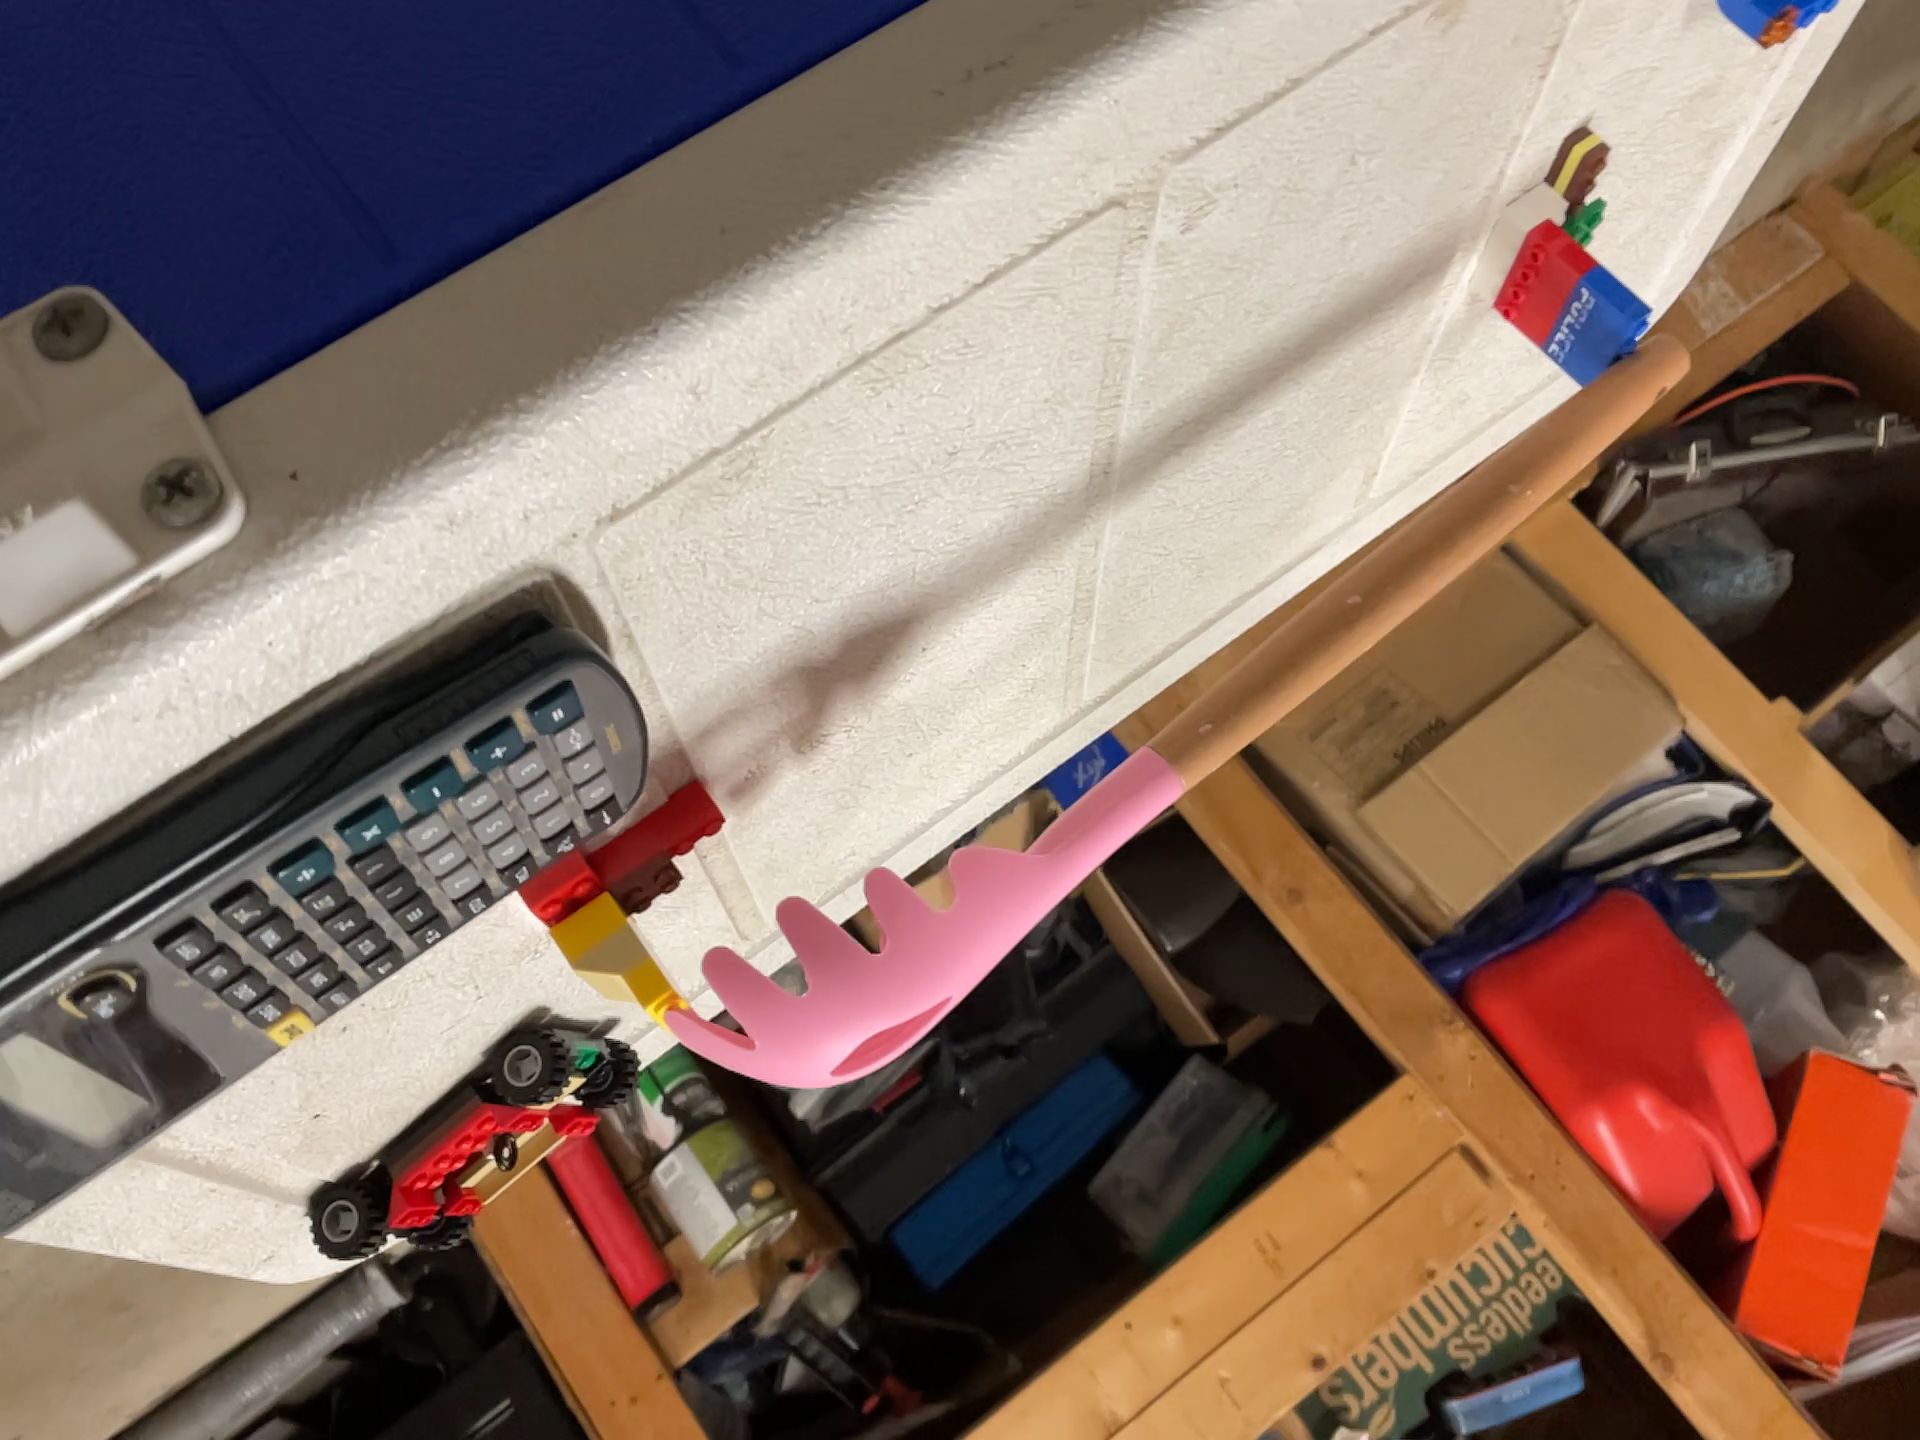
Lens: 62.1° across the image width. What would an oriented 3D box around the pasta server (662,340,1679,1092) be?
[{"bbox_3d":[0.066,-0.009,0.402,0.316,0.040,0.060,-38,160,-13],"label":"pasta server"}]
